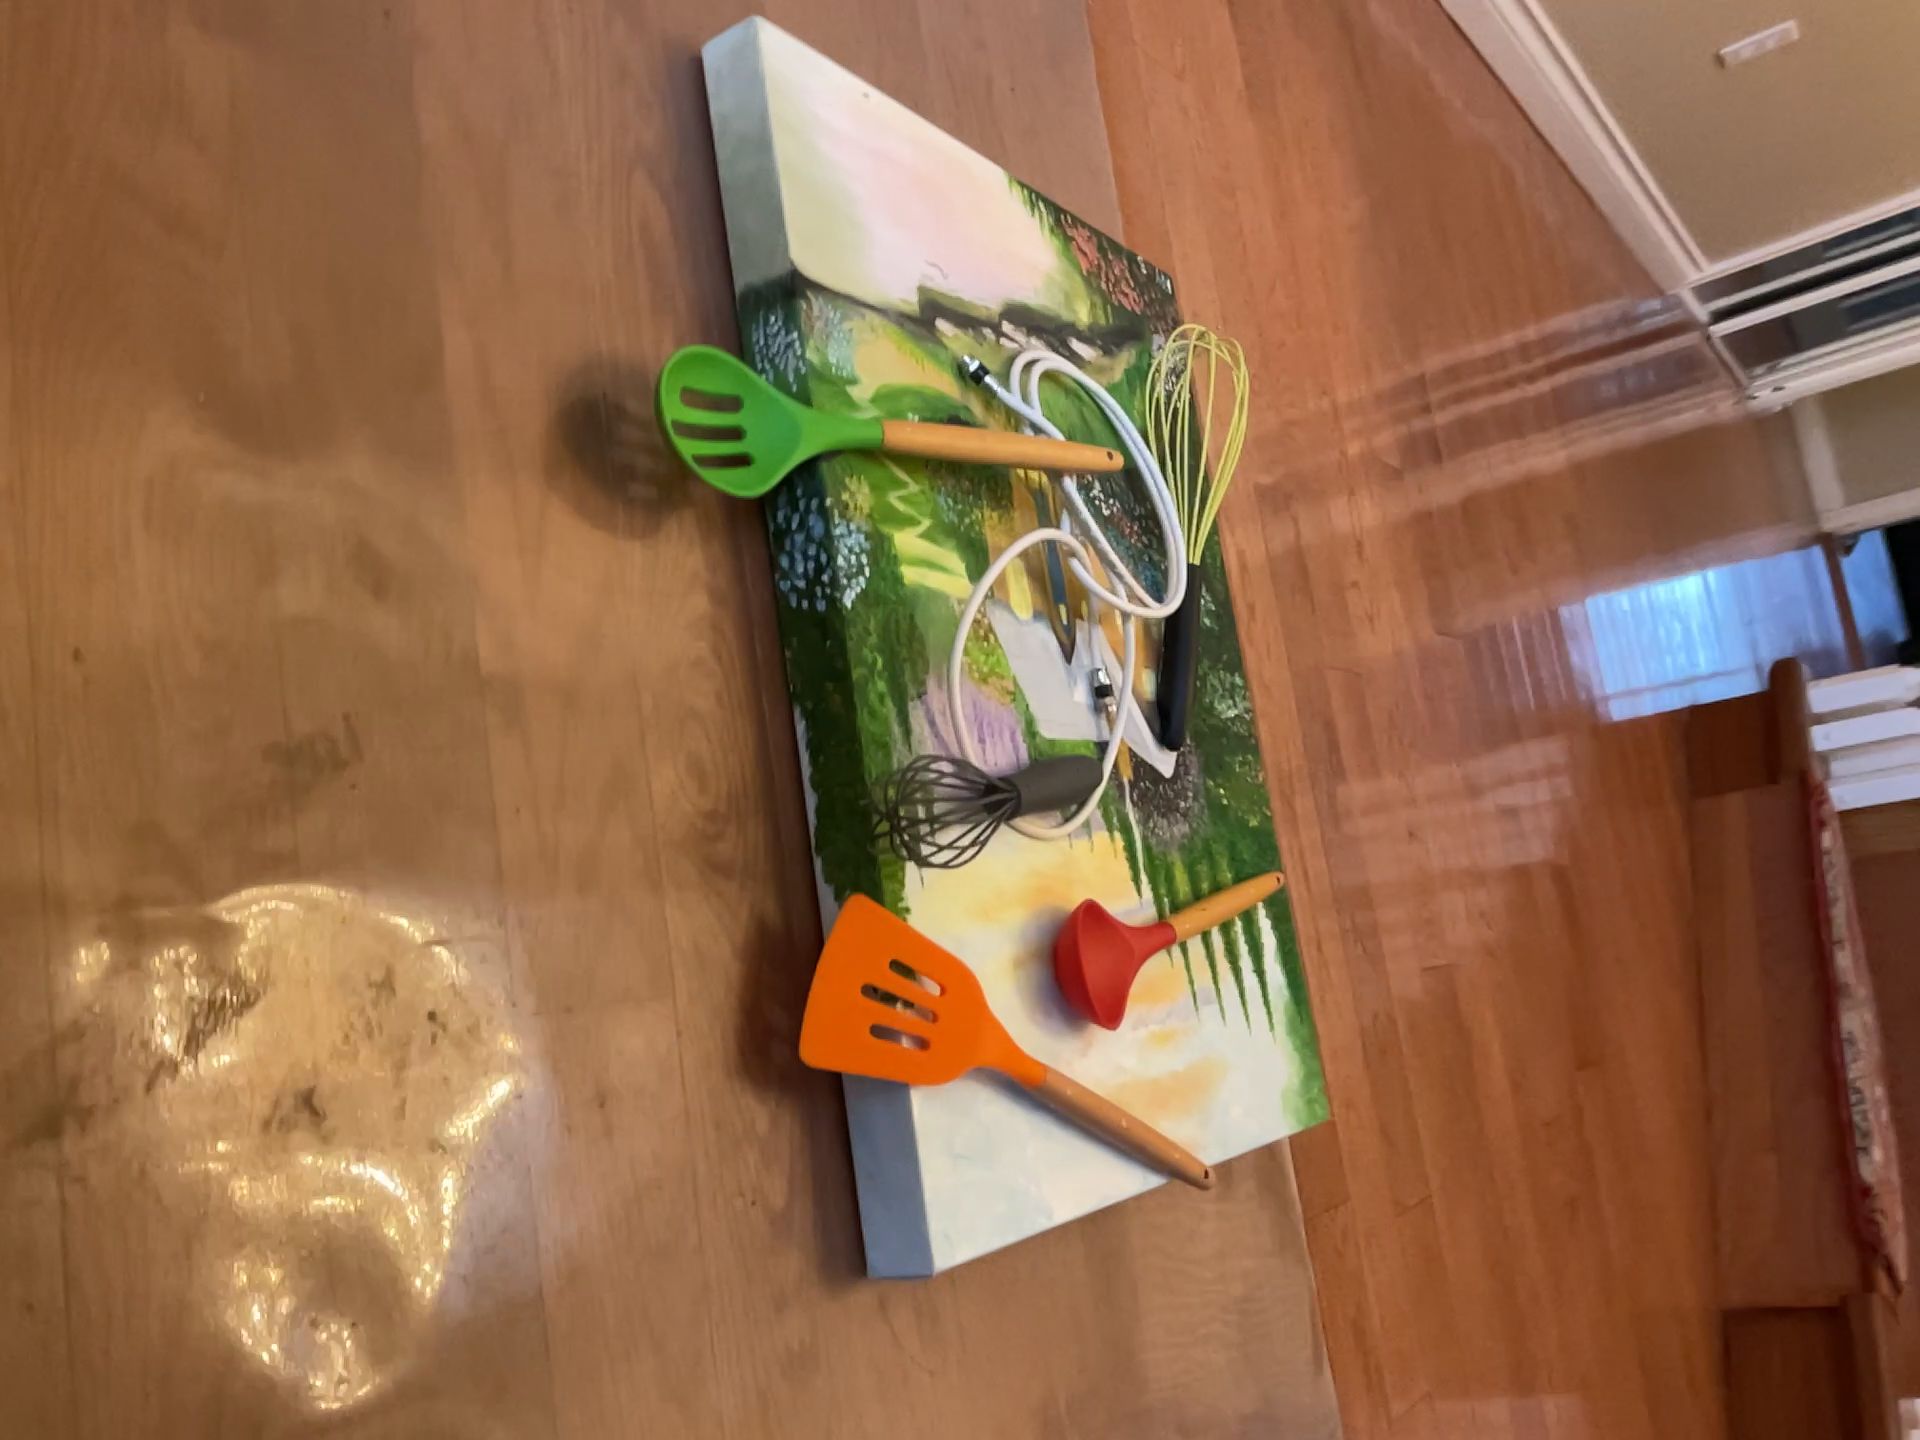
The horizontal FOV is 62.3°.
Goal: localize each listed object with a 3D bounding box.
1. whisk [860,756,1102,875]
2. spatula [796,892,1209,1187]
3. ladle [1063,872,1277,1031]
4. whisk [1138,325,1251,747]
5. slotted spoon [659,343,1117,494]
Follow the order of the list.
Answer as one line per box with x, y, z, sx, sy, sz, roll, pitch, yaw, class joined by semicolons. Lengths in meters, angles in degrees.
0.023;0.038;0.795;0.239;0.055;0.055;-9;95;-63;whisk
0.040;0.184;0.795;0.322;0.041;0.081;40;57;-44;spatula
0.132;0.121;0.942;0.315;0.031;0.069;-9;86;-60;ladle
0.148;-0.128;1.052;0.079;0.067;0.312;27;61;-43;whisk
-0.025;-0.140;0.803;0.313;0.031;0.070;-3;79;-45;slotted spoon
